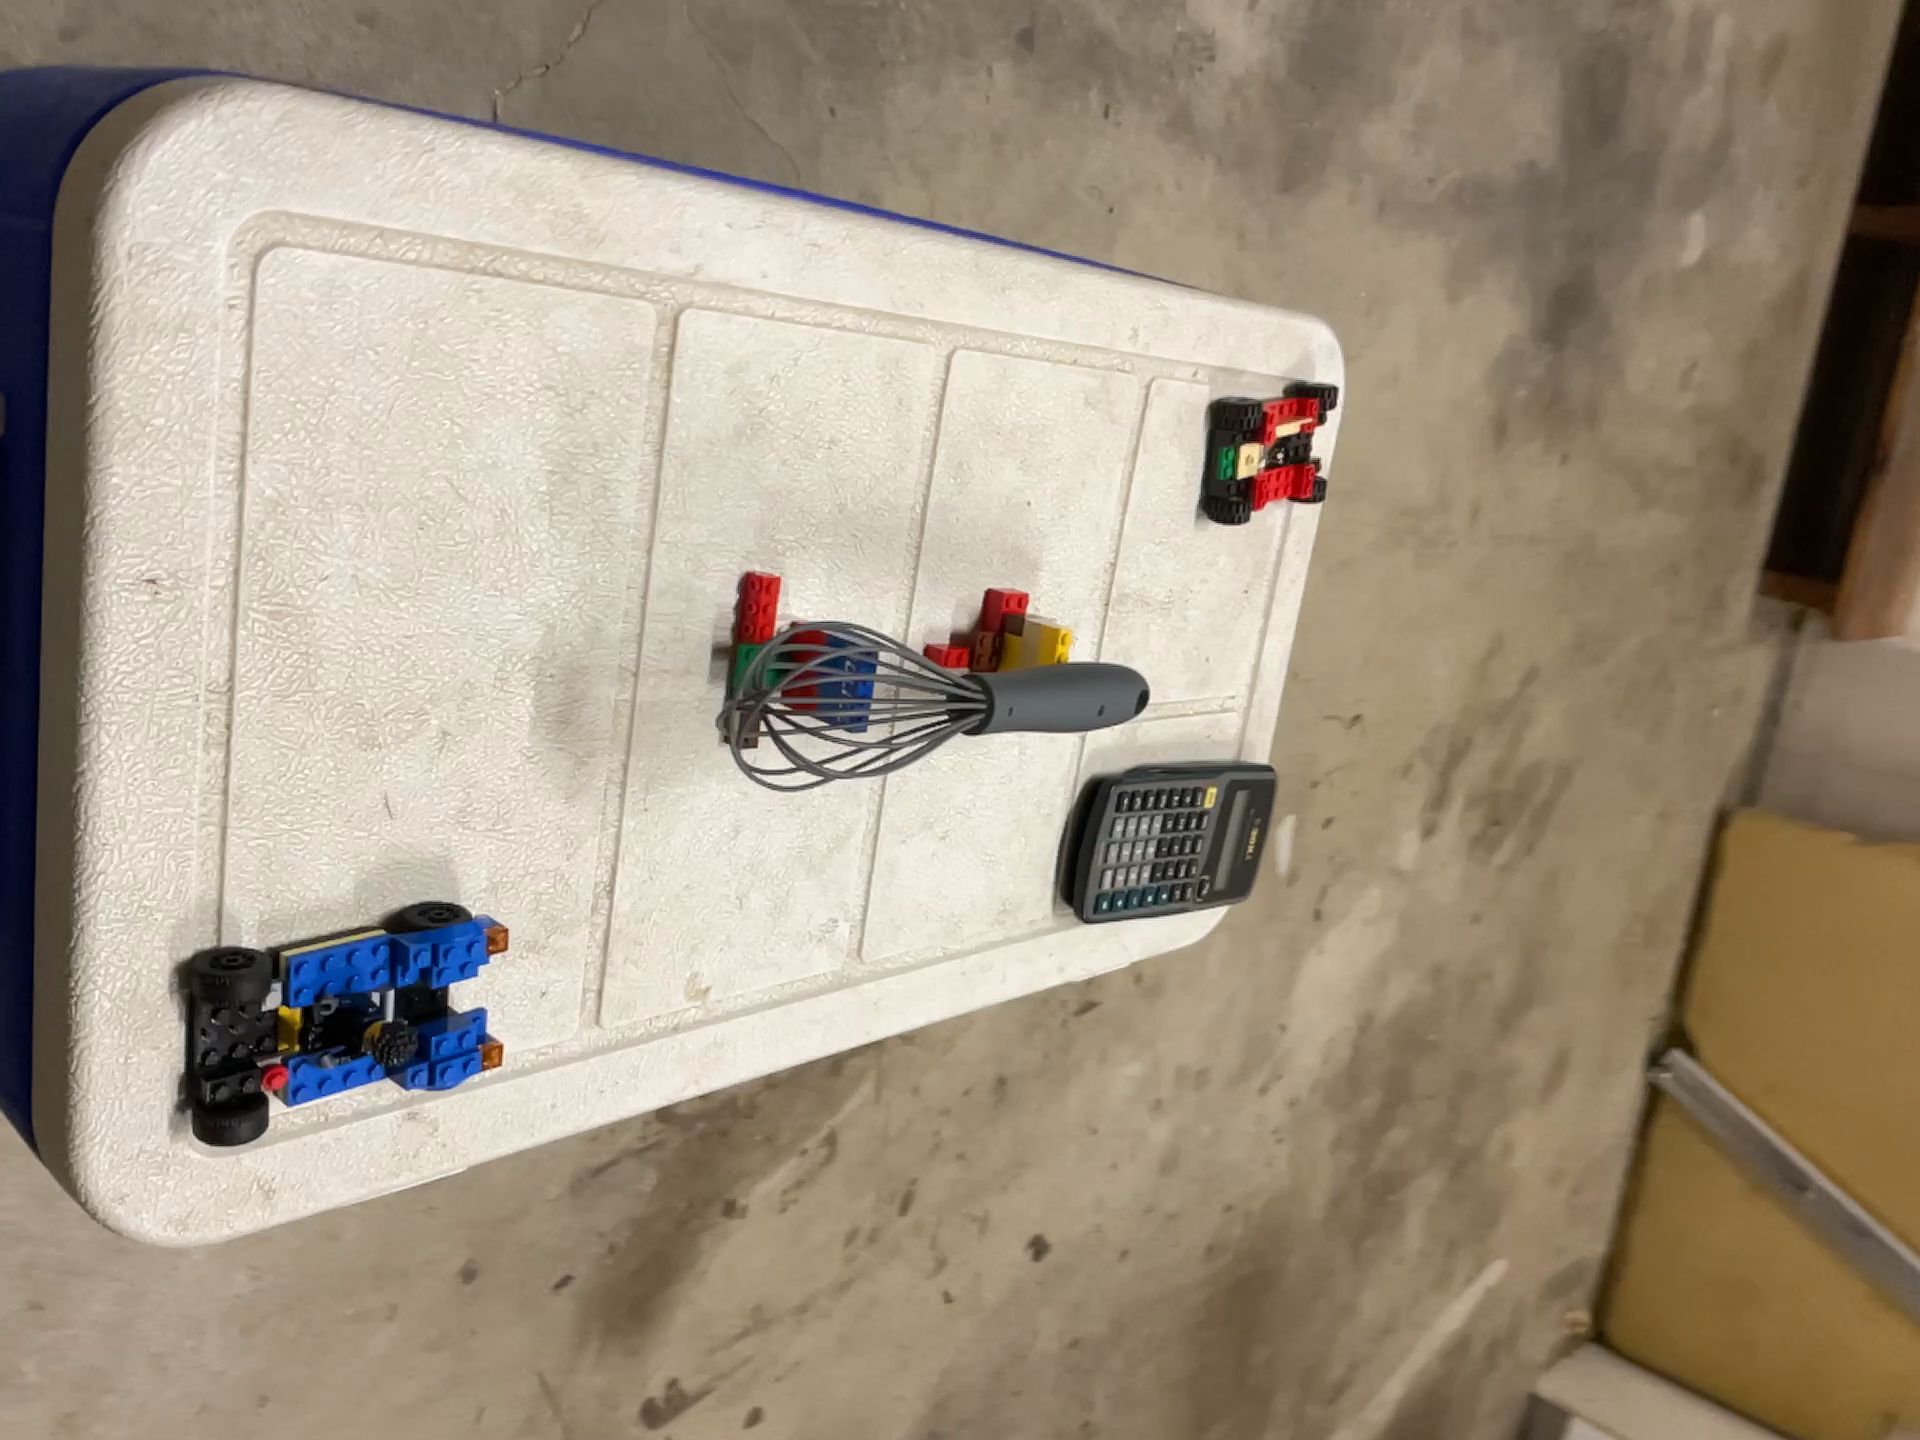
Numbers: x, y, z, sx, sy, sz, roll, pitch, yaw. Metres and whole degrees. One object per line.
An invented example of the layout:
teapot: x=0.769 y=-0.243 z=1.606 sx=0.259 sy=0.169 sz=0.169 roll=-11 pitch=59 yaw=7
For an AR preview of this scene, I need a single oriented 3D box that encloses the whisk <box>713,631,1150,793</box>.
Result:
whisk: x=0.002 y=-0.005 z=0.576 sx=0.239 sy=0.055 sz=0.055 roll=-3 pitch=110 yaw=-53
